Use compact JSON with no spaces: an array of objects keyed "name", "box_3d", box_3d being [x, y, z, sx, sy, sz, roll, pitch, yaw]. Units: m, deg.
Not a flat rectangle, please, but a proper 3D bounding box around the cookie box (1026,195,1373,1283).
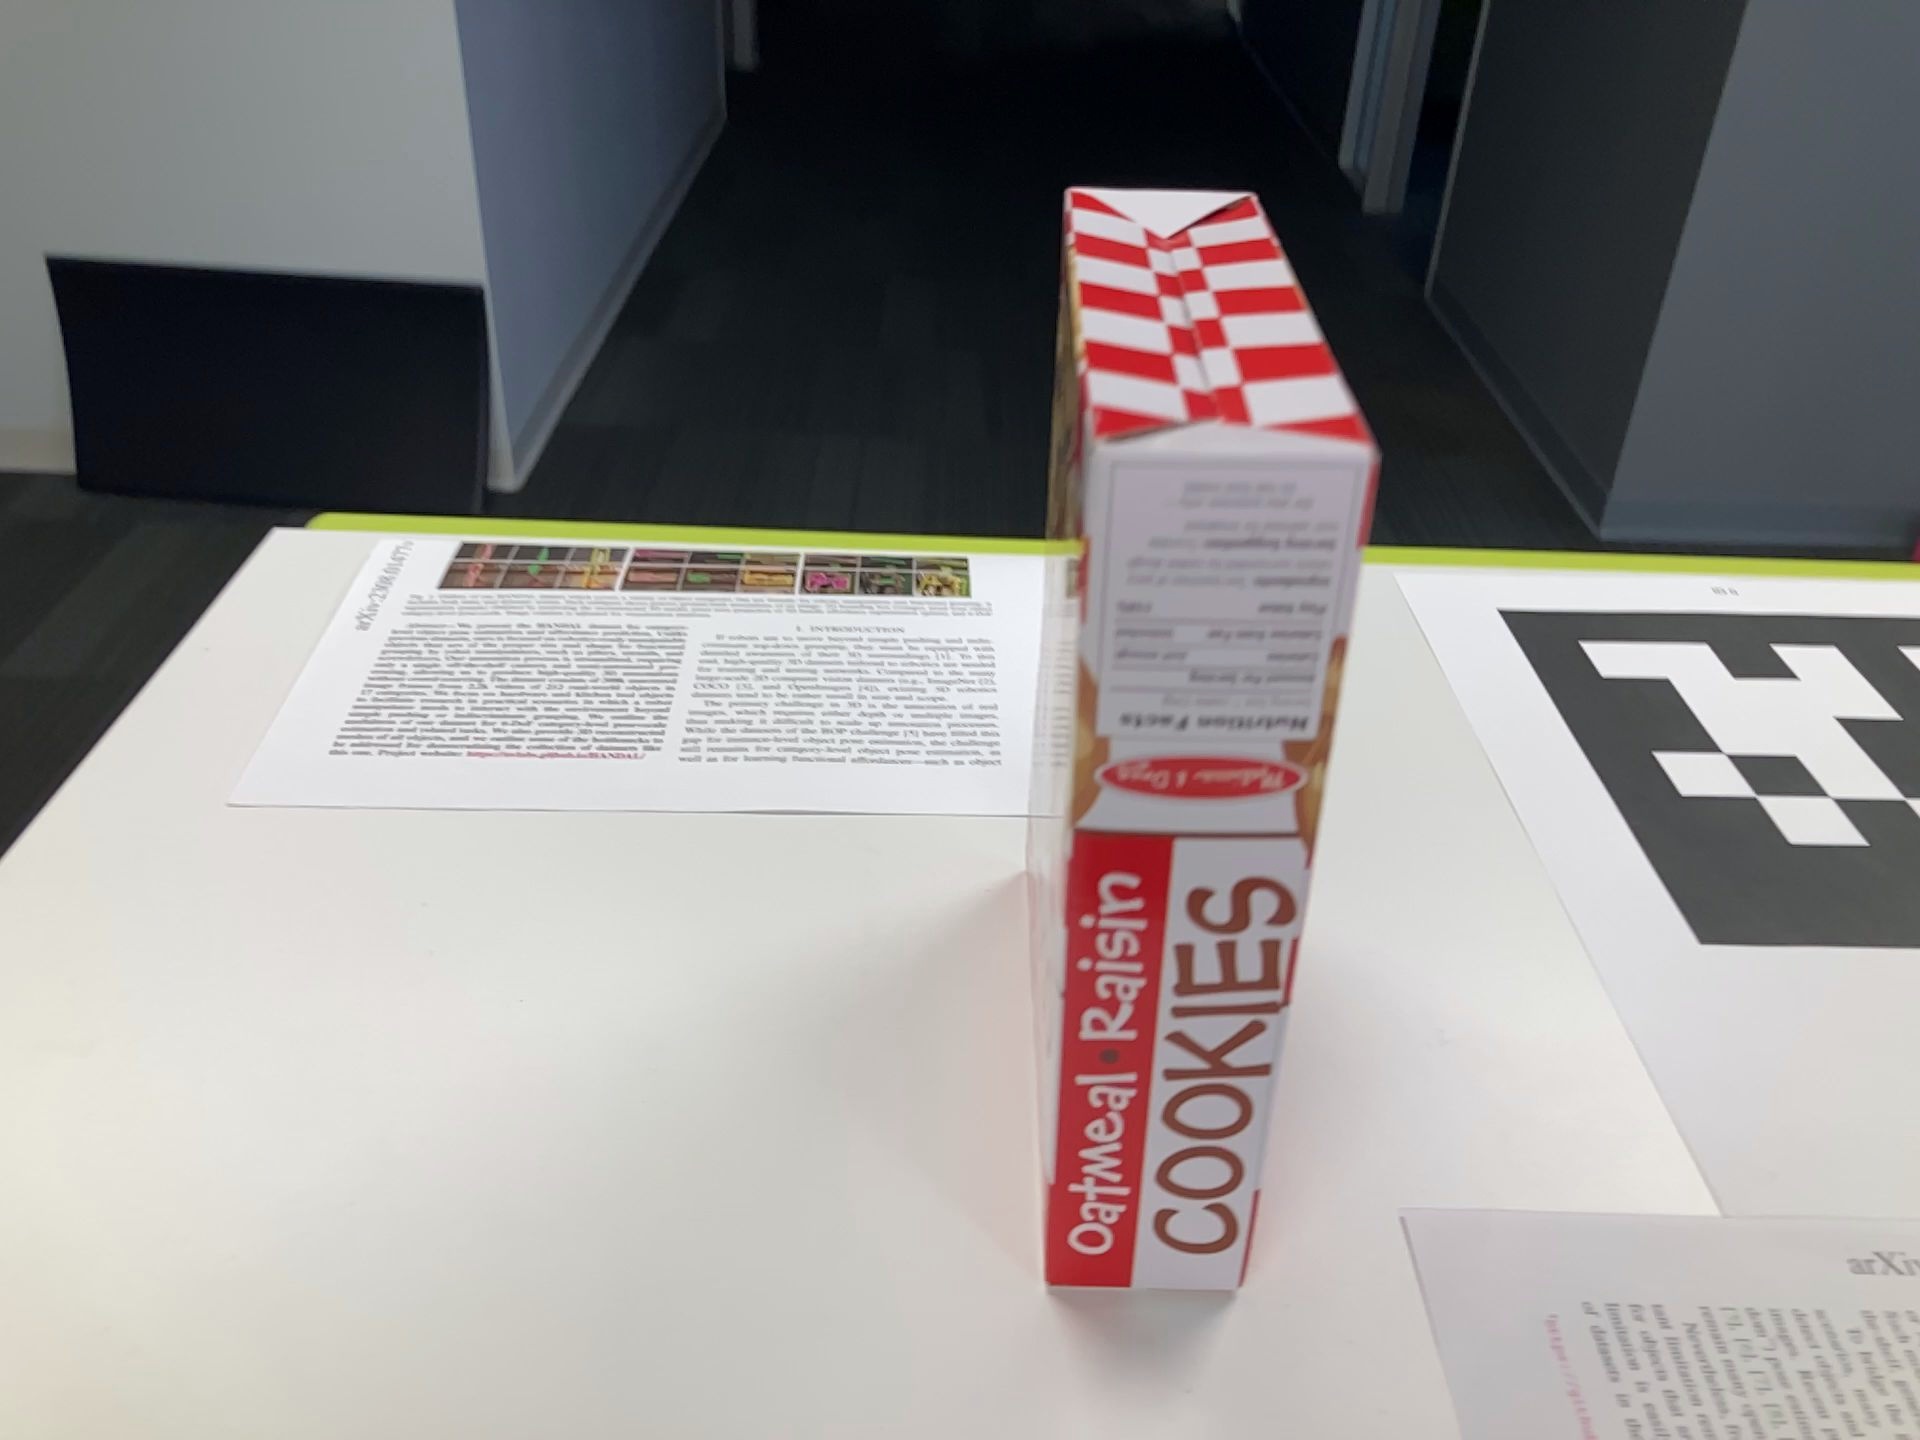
[{"name":"cookie box","box_3d":[0.036,0.002,0.298,0.040,0.167,0.123,2,33,0]}]
